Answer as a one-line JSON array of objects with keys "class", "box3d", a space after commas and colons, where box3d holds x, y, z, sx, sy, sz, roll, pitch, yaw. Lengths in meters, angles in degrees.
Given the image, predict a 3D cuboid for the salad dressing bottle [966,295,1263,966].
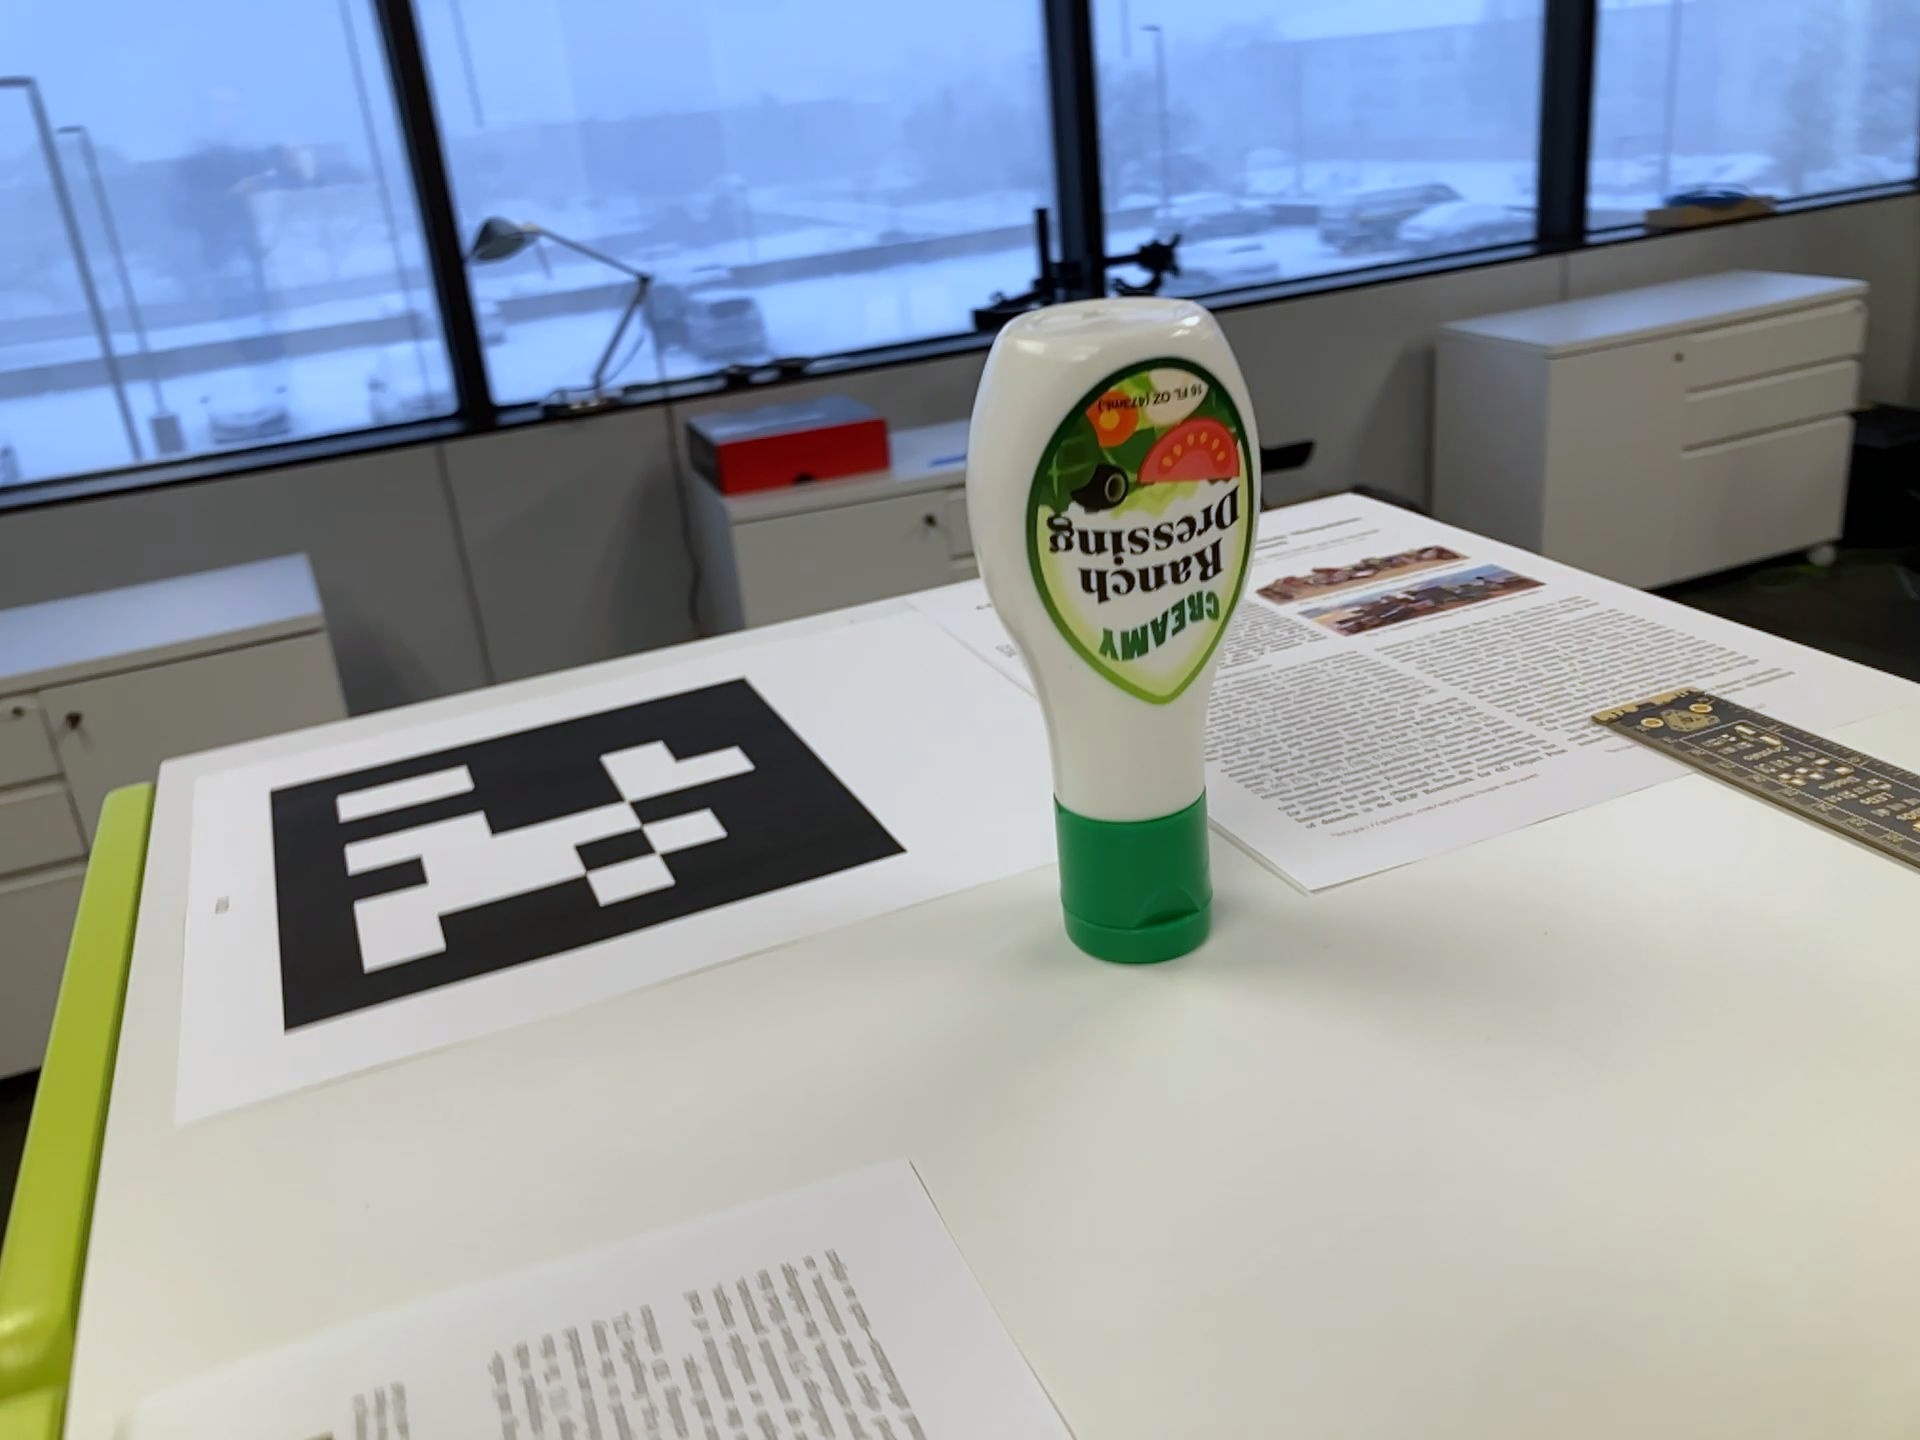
[{"class": "salad dressing bottle", "box3d": [0.037, -0.017, 0.357, 0.064, 0.147, 0.044, -13, 24, -17]}]
